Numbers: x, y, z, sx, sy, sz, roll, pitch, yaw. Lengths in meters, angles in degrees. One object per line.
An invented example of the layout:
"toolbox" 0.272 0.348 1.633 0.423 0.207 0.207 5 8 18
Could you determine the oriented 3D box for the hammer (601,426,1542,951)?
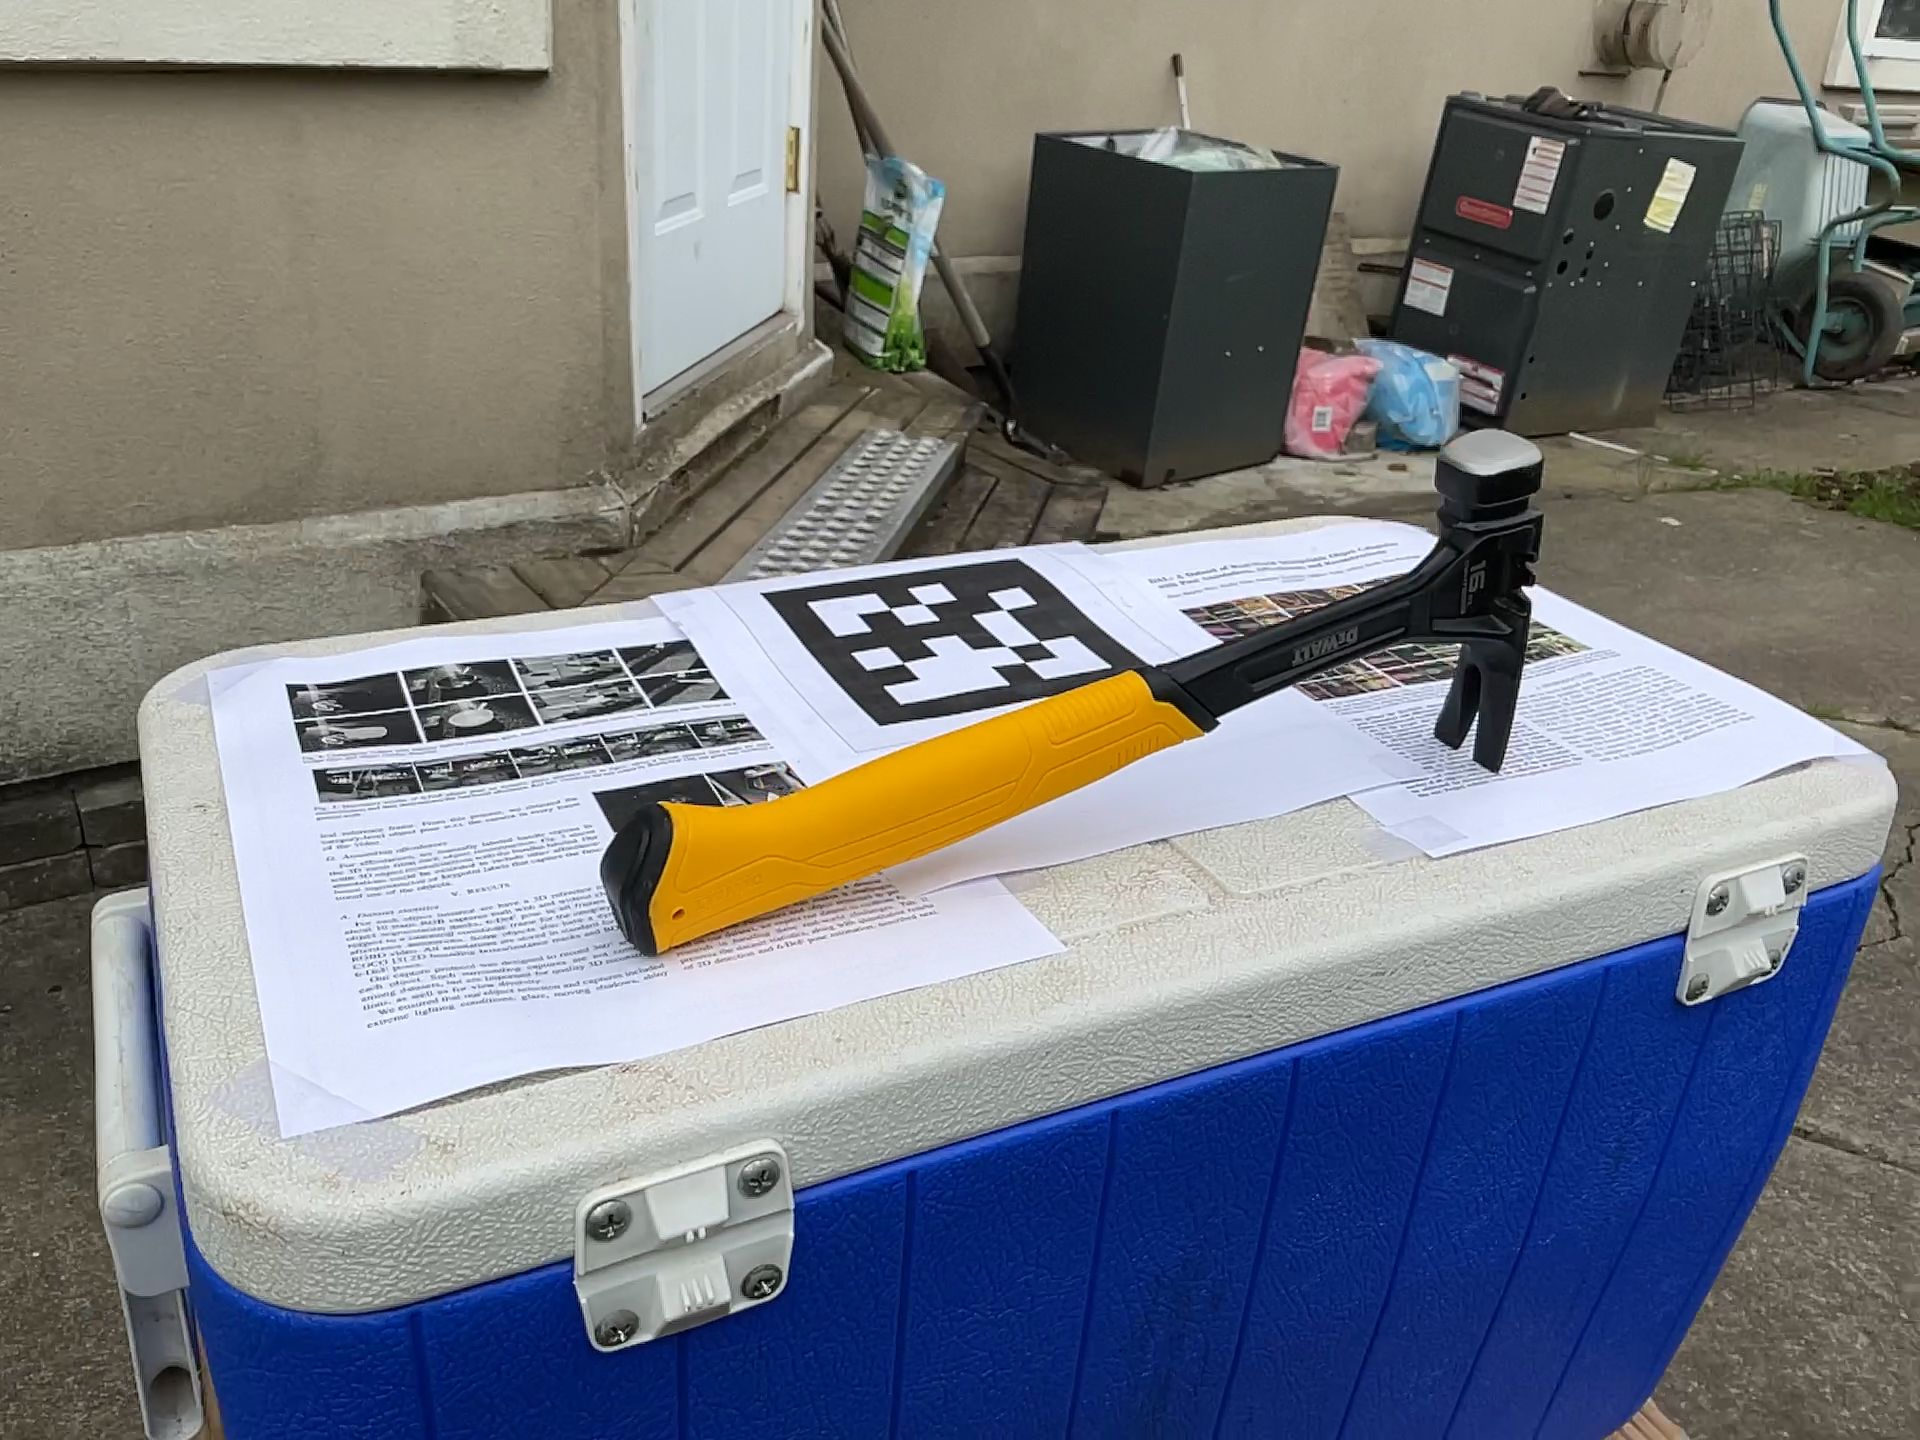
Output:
"hammer" 0.050 0.006 0.521 0.336 0.127 0.034 -19 33 -20
